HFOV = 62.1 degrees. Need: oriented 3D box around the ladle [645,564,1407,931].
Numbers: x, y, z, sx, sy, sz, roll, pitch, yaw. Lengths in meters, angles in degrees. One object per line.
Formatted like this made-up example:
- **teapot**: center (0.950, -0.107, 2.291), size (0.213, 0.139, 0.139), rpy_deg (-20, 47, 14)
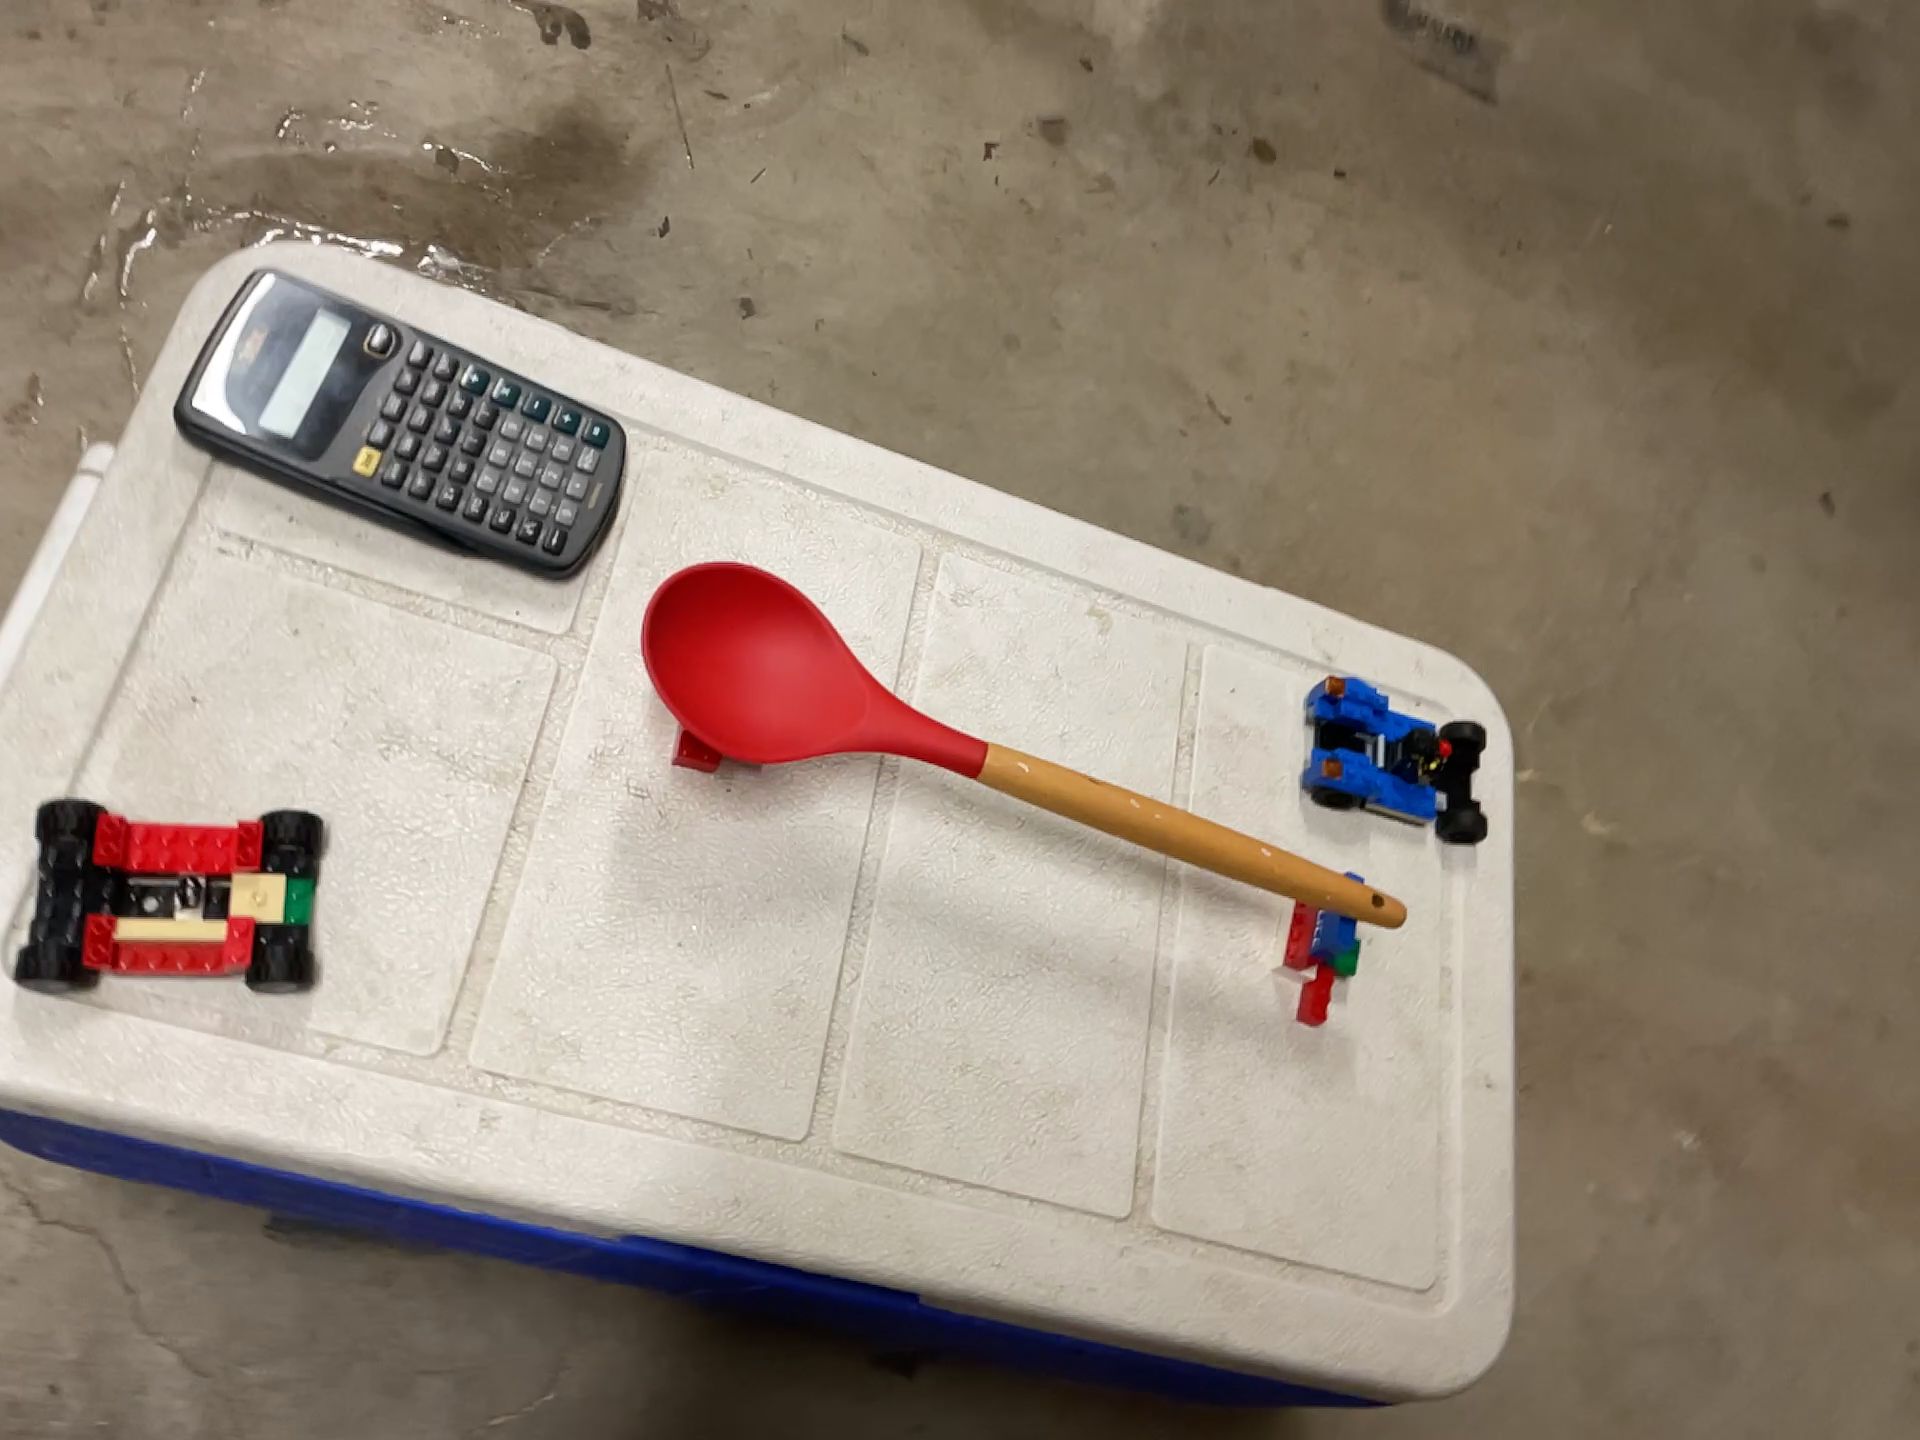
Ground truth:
- **ladle**: center (0.032, 0.023, 0.591), size (0.315, 0.031, 0.069), rpy_deg (21, 67, -15)
